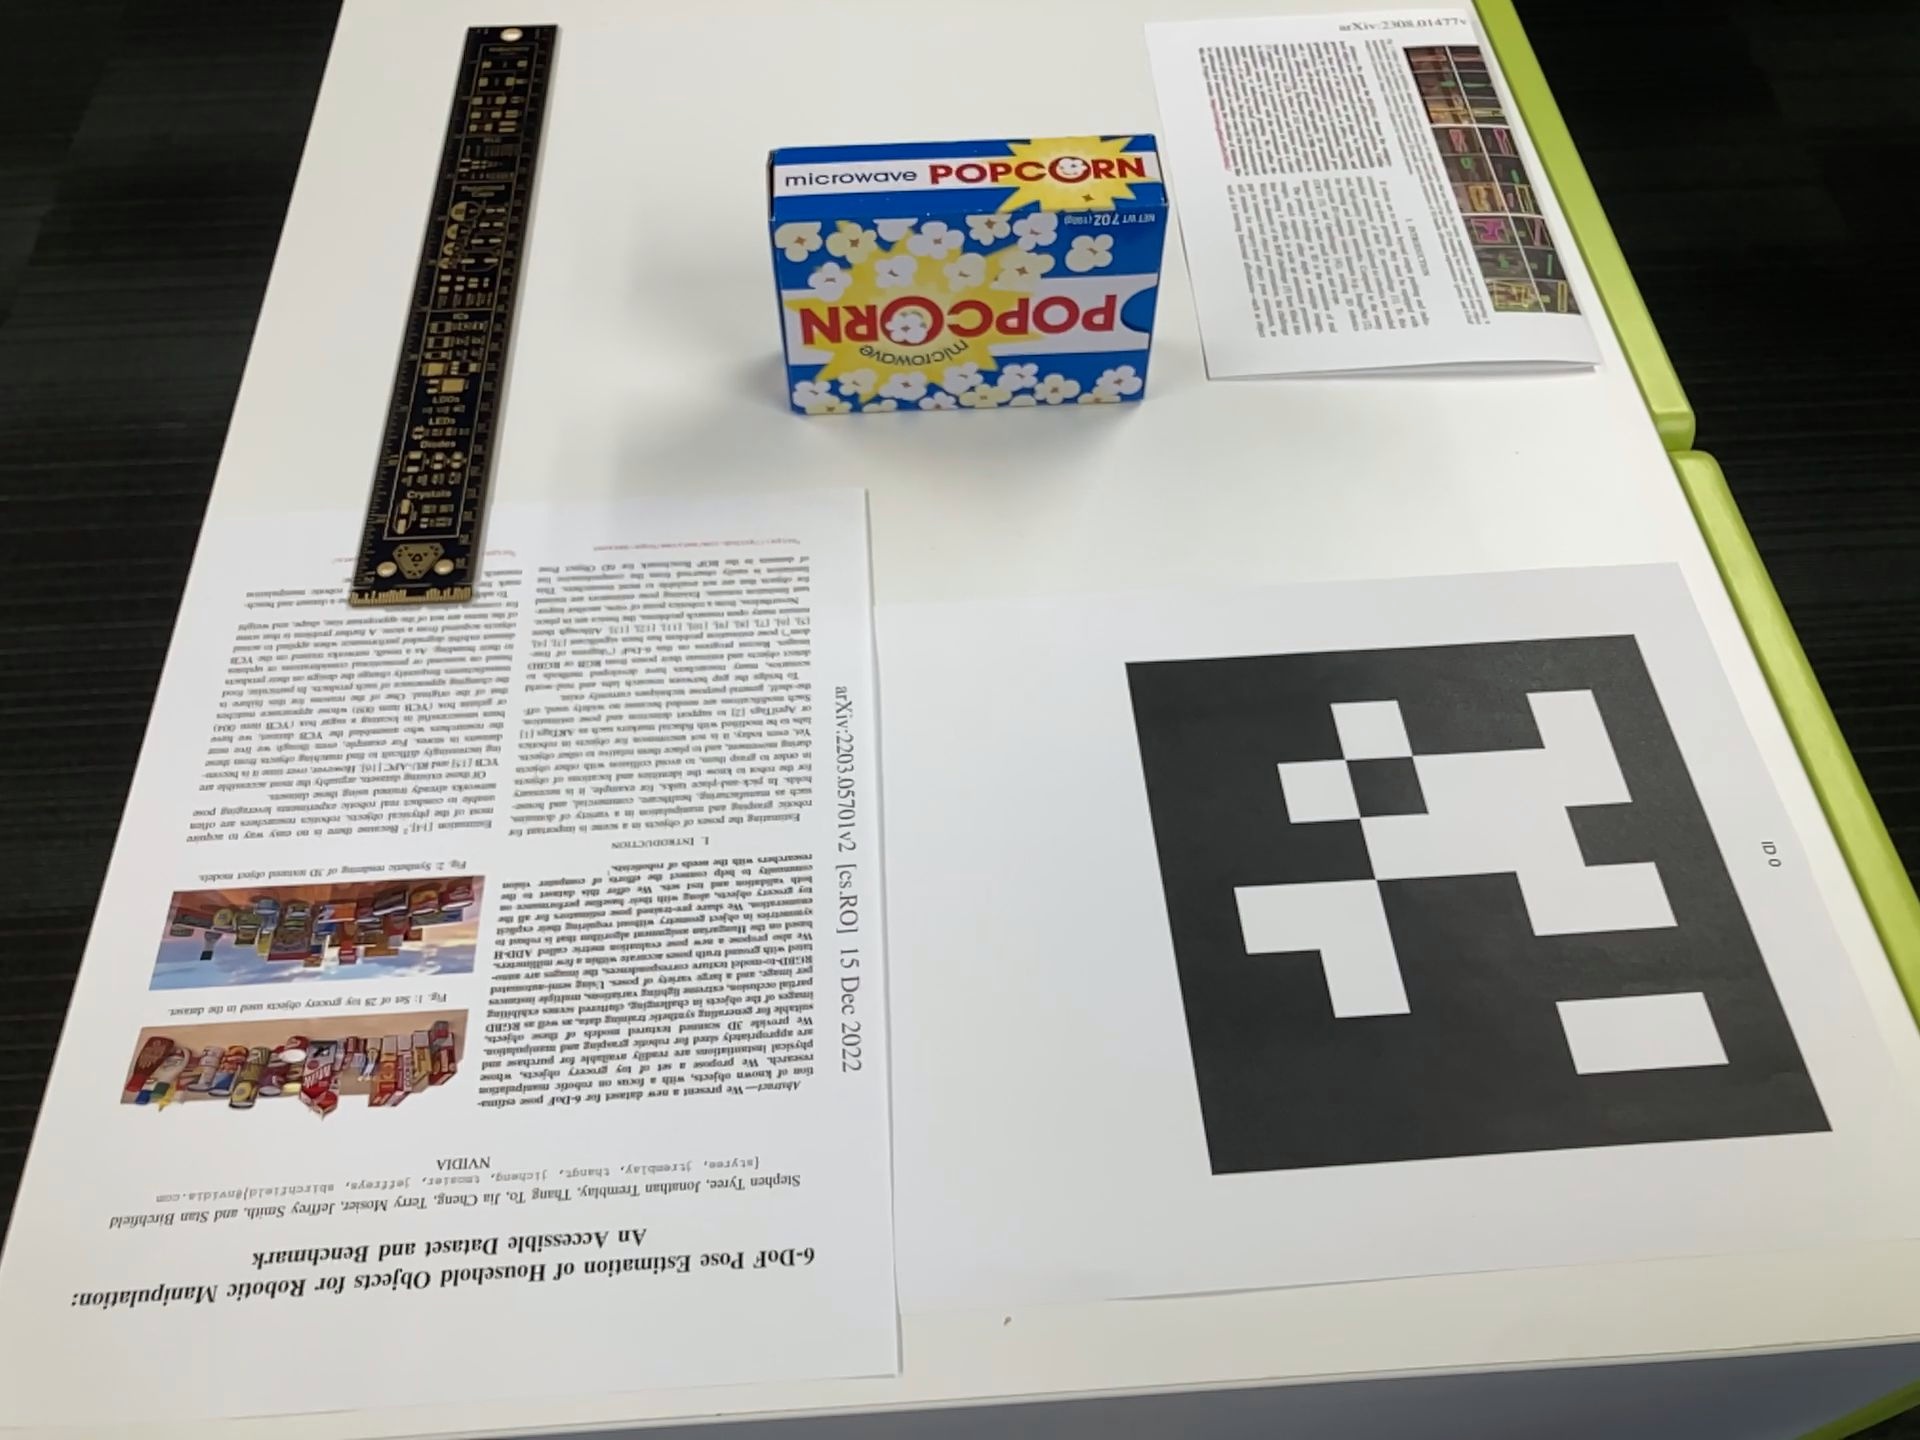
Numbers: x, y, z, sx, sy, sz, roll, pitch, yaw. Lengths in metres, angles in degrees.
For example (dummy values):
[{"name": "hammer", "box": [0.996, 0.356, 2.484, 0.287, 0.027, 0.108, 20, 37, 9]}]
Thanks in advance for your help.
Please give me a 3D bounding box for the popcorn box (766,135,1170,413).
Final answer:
[{"name": "popcorn box", "box": [0.002, -0.149, 0.537, 0.126, 0.085, 0.038, -3, 54, -2]}]
